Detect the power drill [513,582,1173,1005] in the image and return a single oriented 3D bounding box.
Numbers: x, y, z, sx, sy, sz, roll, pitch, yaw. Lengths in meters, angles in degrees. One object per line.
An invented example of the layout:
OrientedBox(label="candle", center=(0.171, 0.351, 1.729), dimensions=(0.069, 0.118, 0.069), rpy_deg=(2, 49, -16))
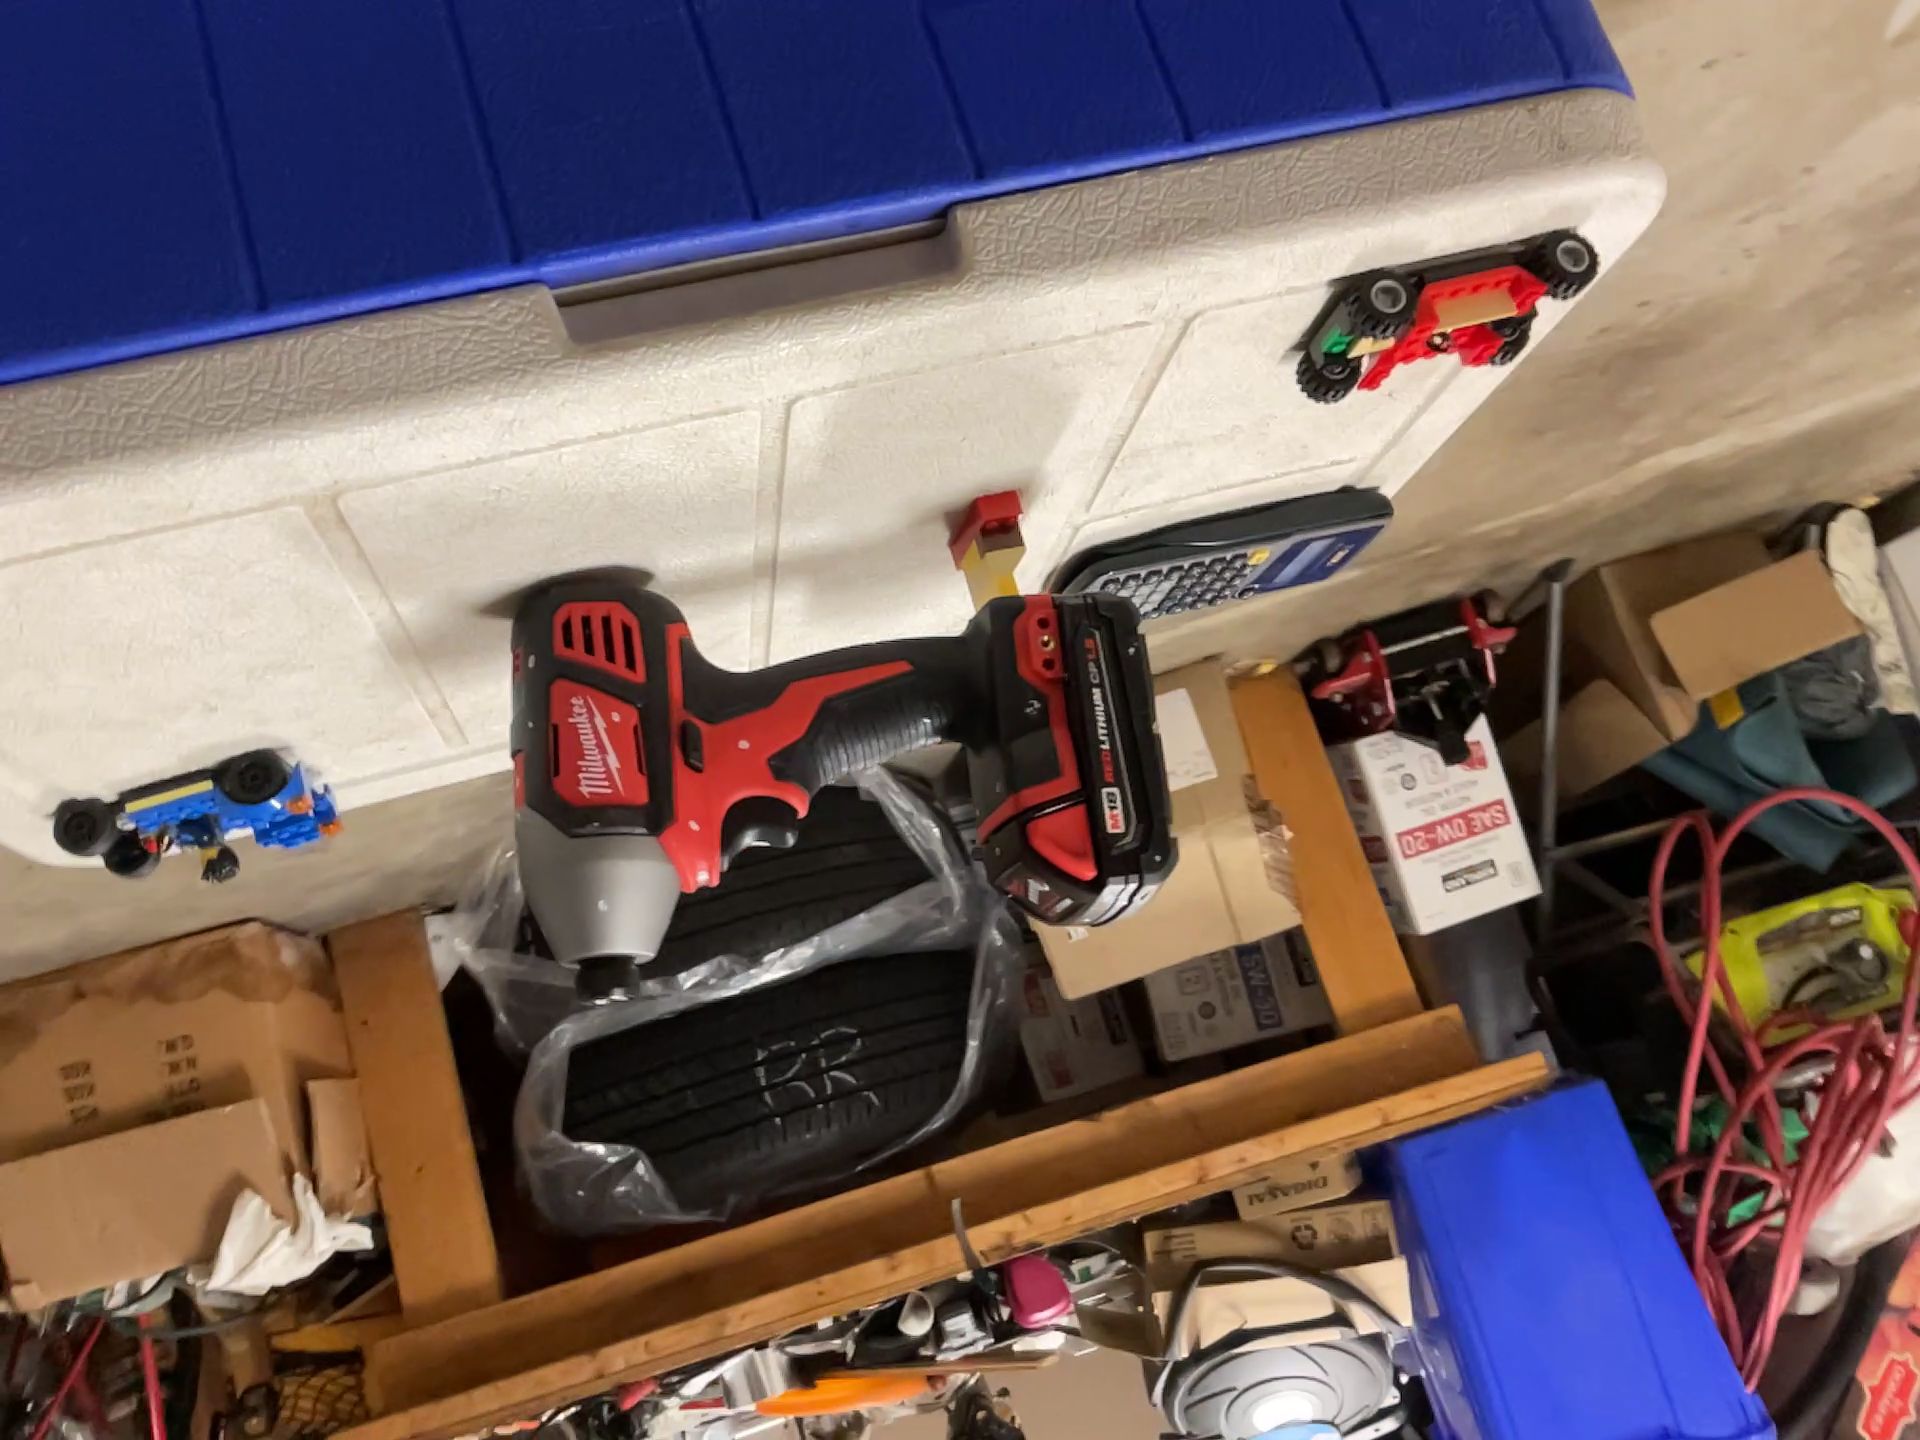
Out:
OrientedBox(label="power drill", center=(-0.045, 0.024, 0.565), dimensions=(0.219, 0.143, 0.078), rpy_deg=(-1, 163, -13))
